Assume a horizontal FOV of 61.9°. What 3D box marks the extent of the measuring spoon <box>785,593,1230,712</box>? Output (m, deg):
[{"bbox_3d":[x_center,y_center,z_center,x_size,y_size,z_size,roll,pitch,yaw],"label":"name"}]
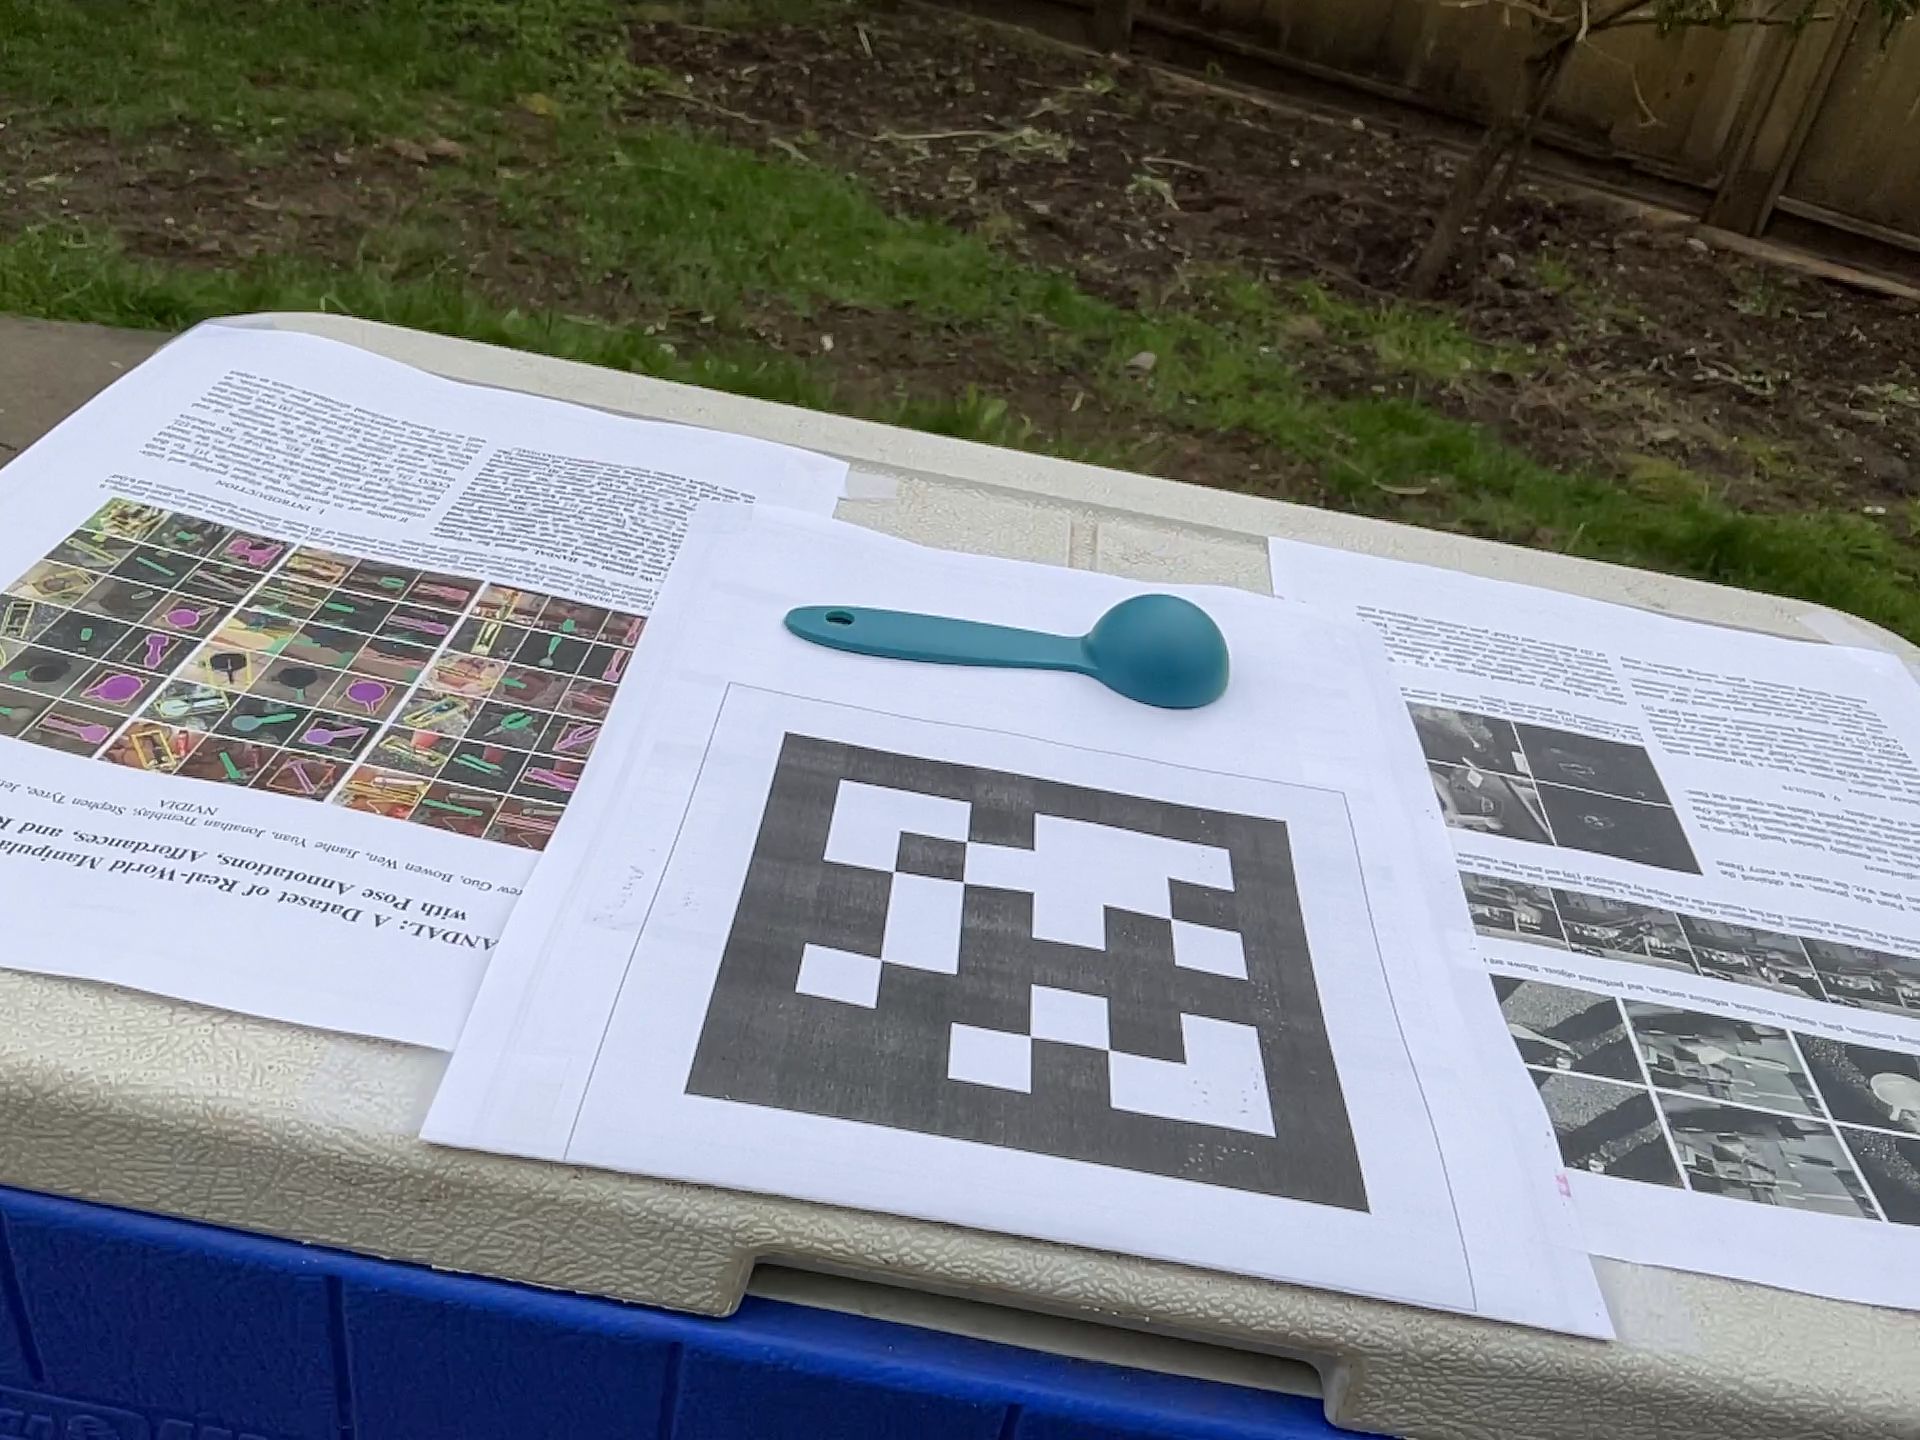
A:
[{"bbox_3d":[0.016,-0.027,0.451,0.128,0.021,0.042,5,40,-9],"label":"measuring spoon"}]
